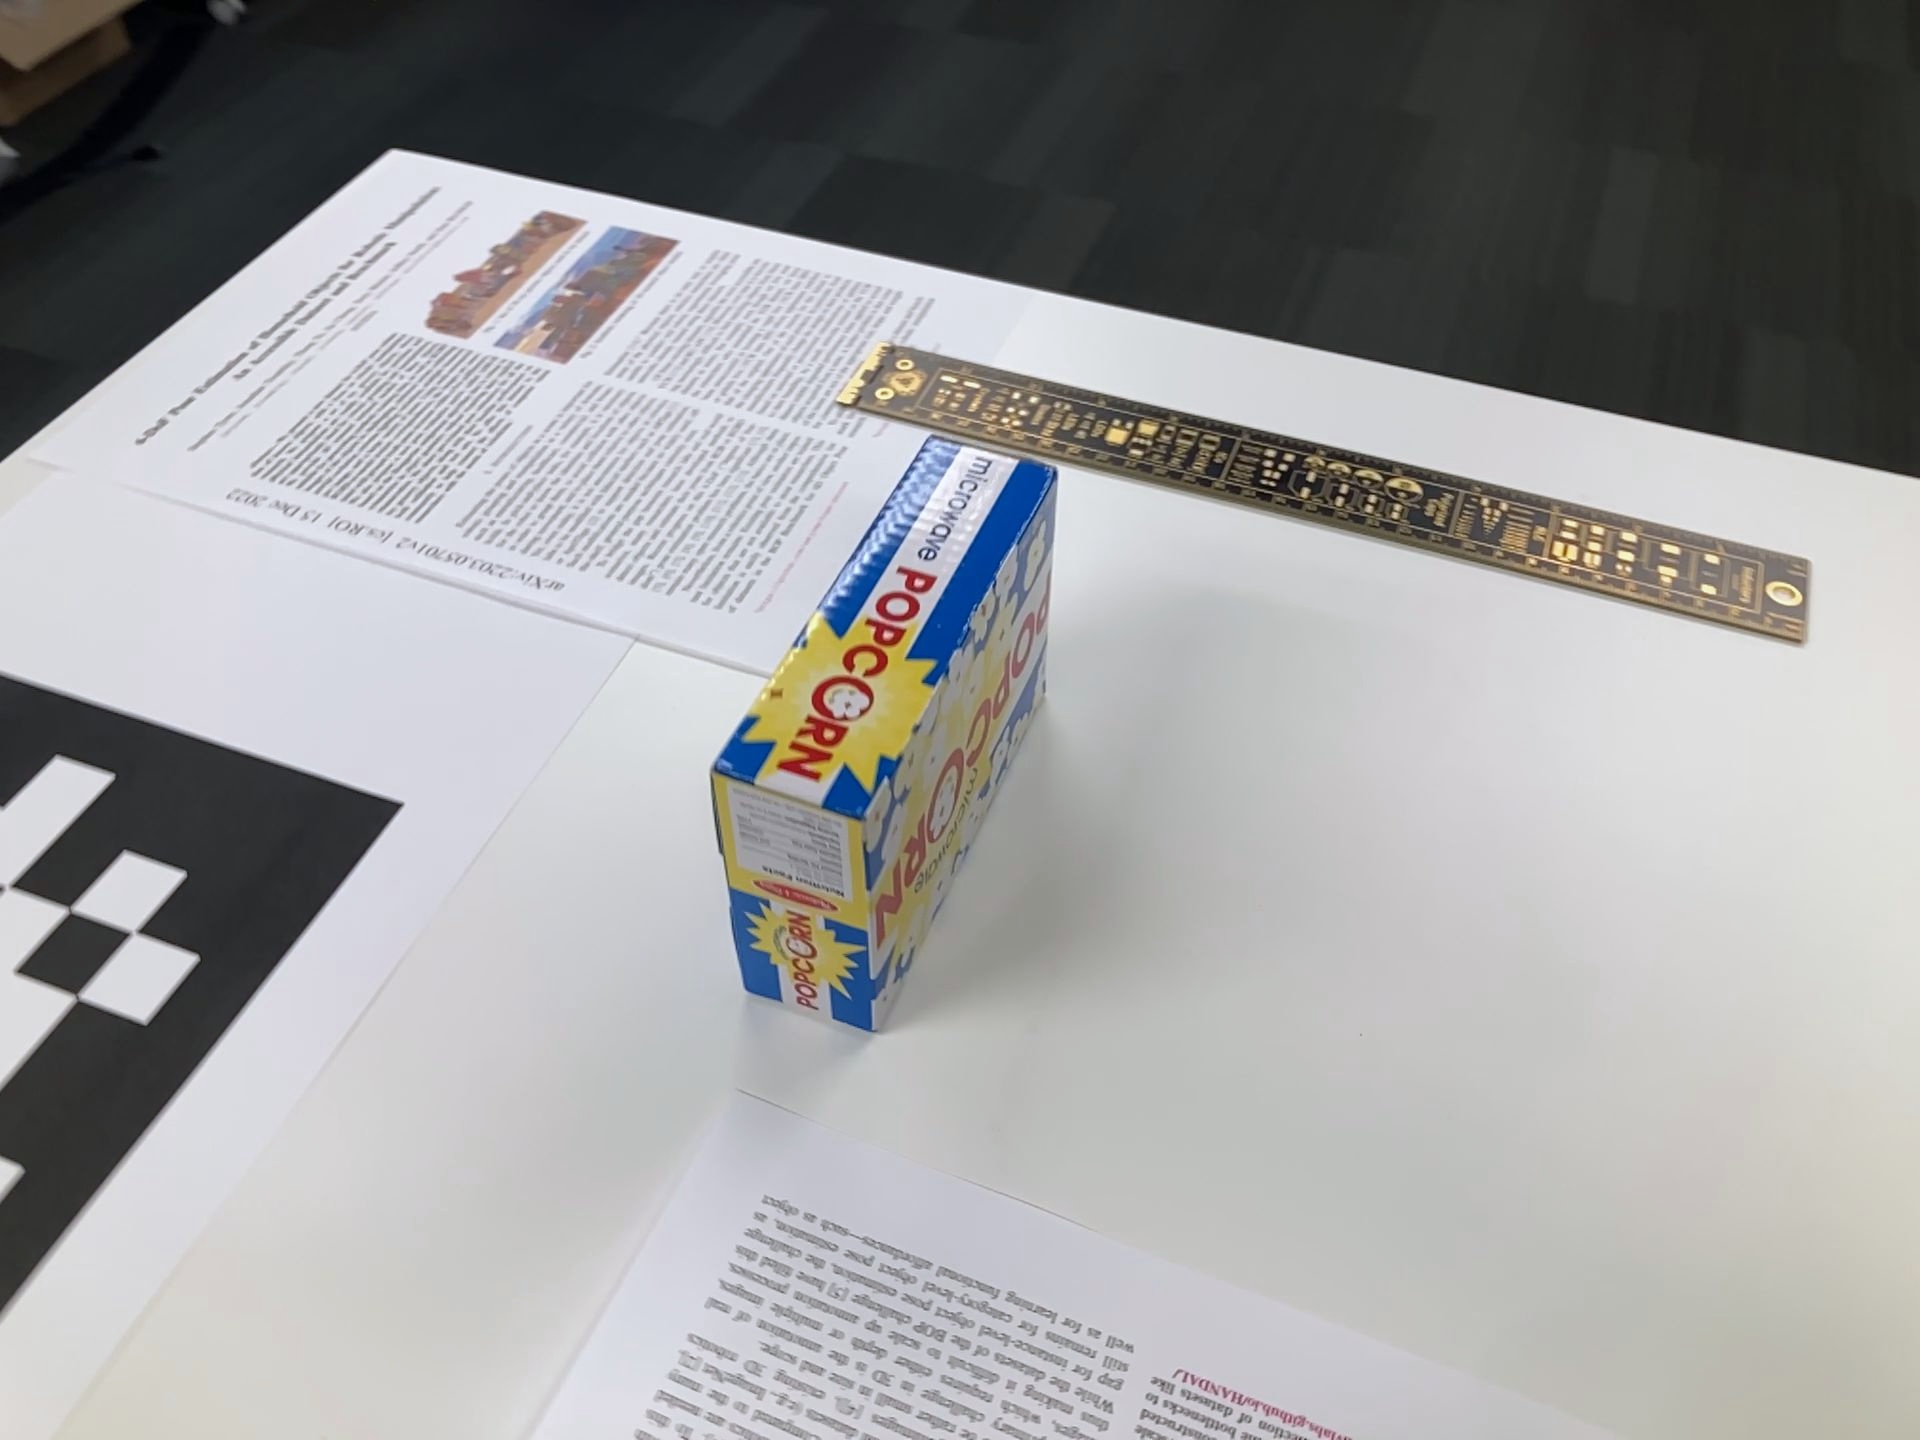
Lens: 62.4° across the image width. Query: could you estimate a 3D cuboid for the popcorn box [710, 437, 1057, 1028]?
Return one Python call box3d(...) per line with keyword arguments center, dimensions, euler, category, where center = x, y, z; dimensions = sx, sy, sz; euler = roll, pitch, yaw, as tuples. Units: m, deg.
box3d(center=(-0.014, 0.001, 0.399), dimensions=(0.038, 0.085, 0.126), euler=(17, 50, 13), category="popcorn box")
